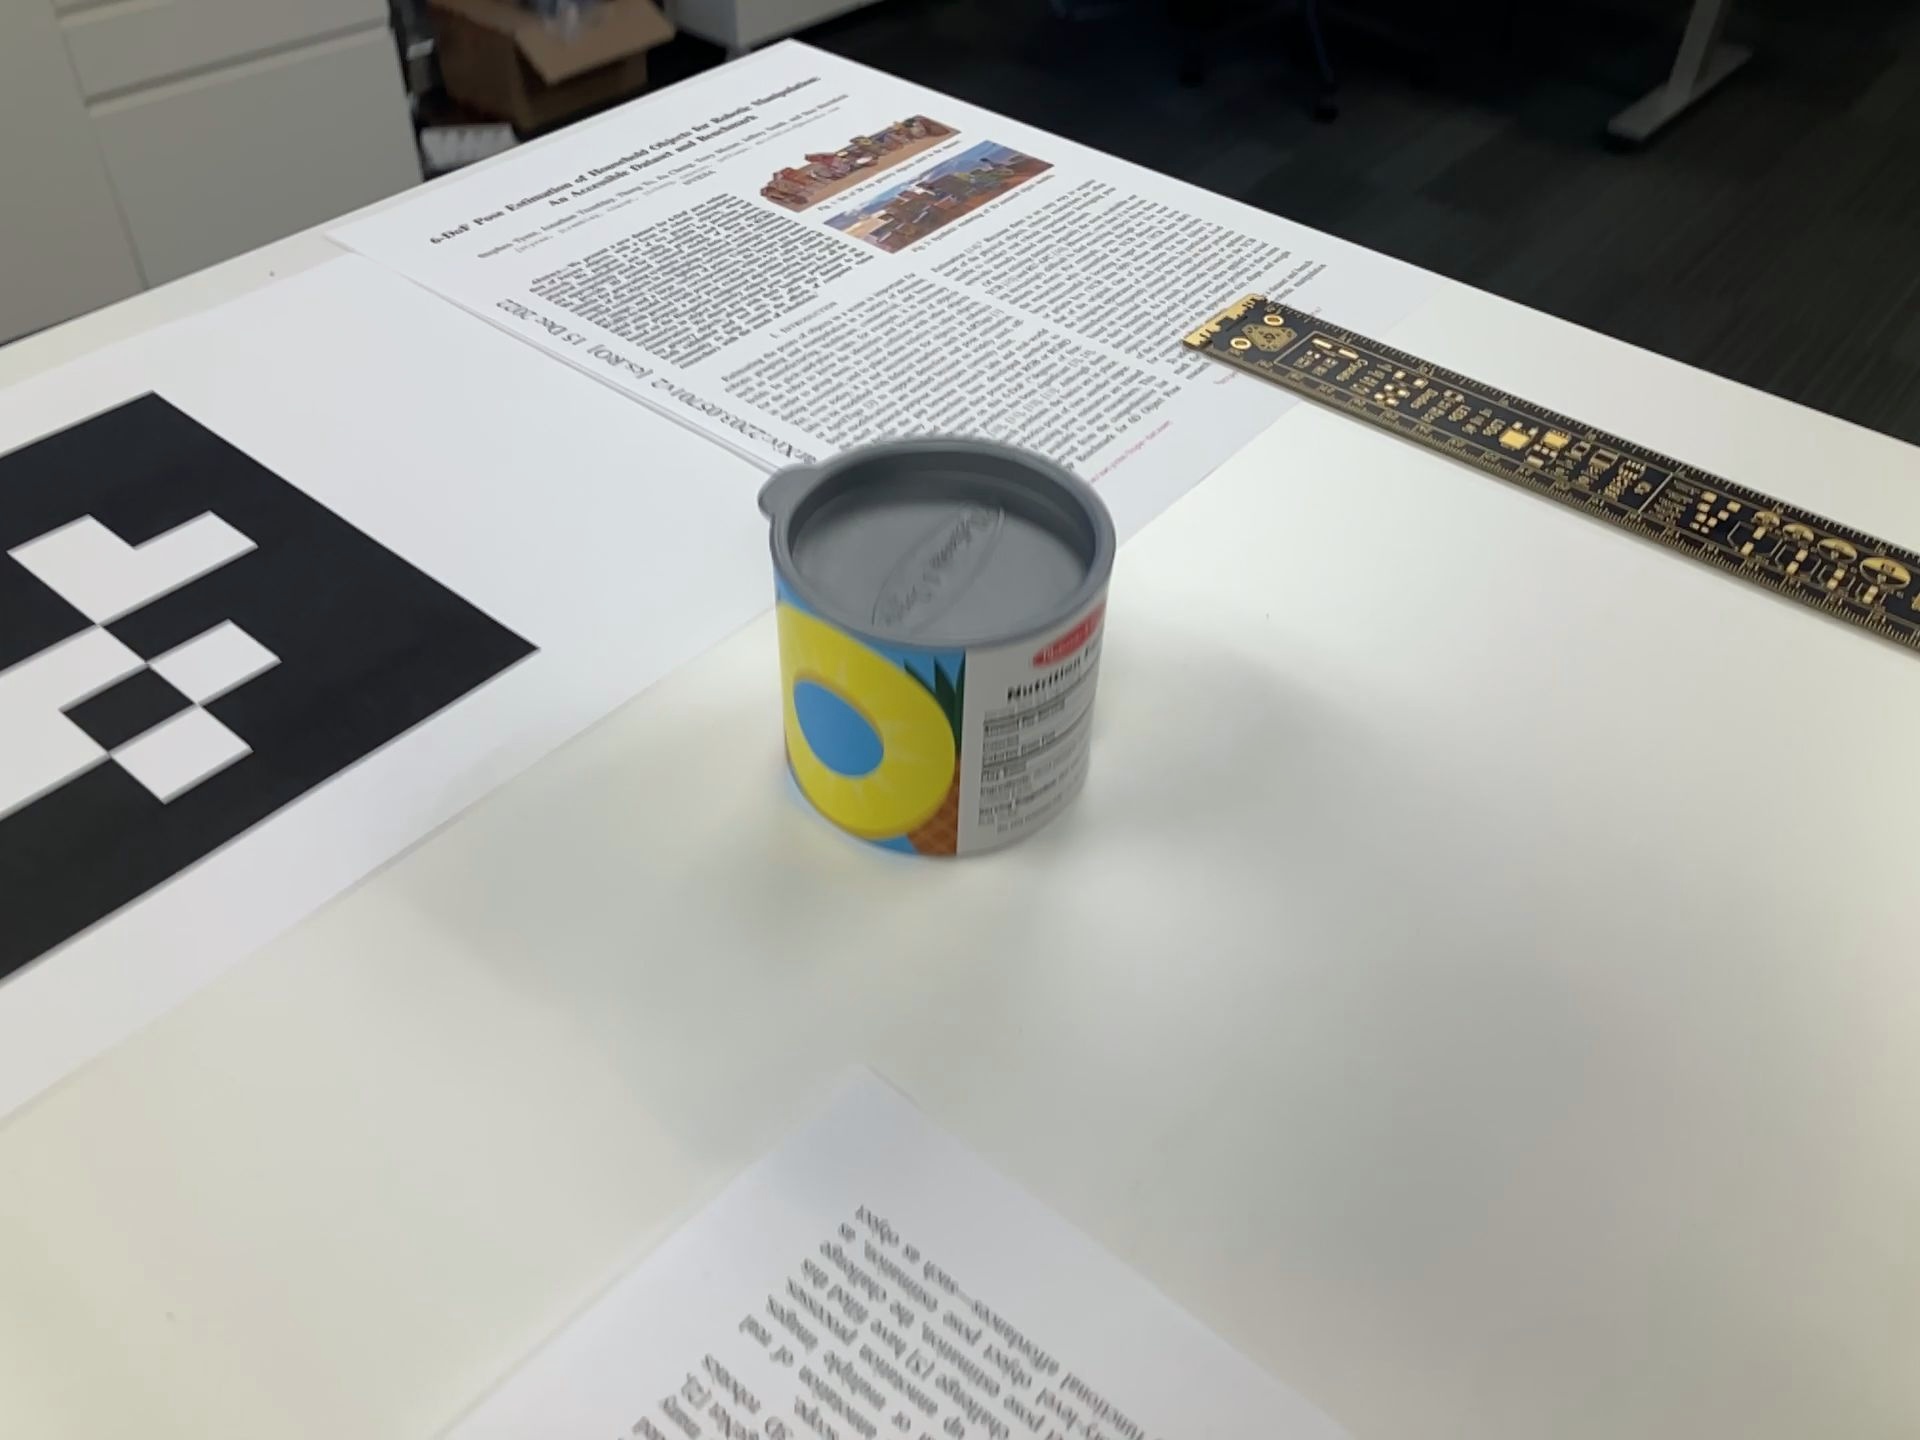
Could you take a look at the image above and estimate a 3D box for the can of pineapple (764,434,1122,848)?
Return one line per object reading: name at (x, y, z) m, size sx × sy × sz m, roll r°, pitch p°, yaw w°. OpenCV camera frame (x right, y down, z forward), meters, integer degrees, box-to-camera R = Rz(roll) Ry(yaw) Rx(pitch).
can of pineapple at (-0.004, -0.017, 0.324) m, size 0.071 × 0.058 × 0.071 m, roll 2°, pitch 43°, yaw -2°
